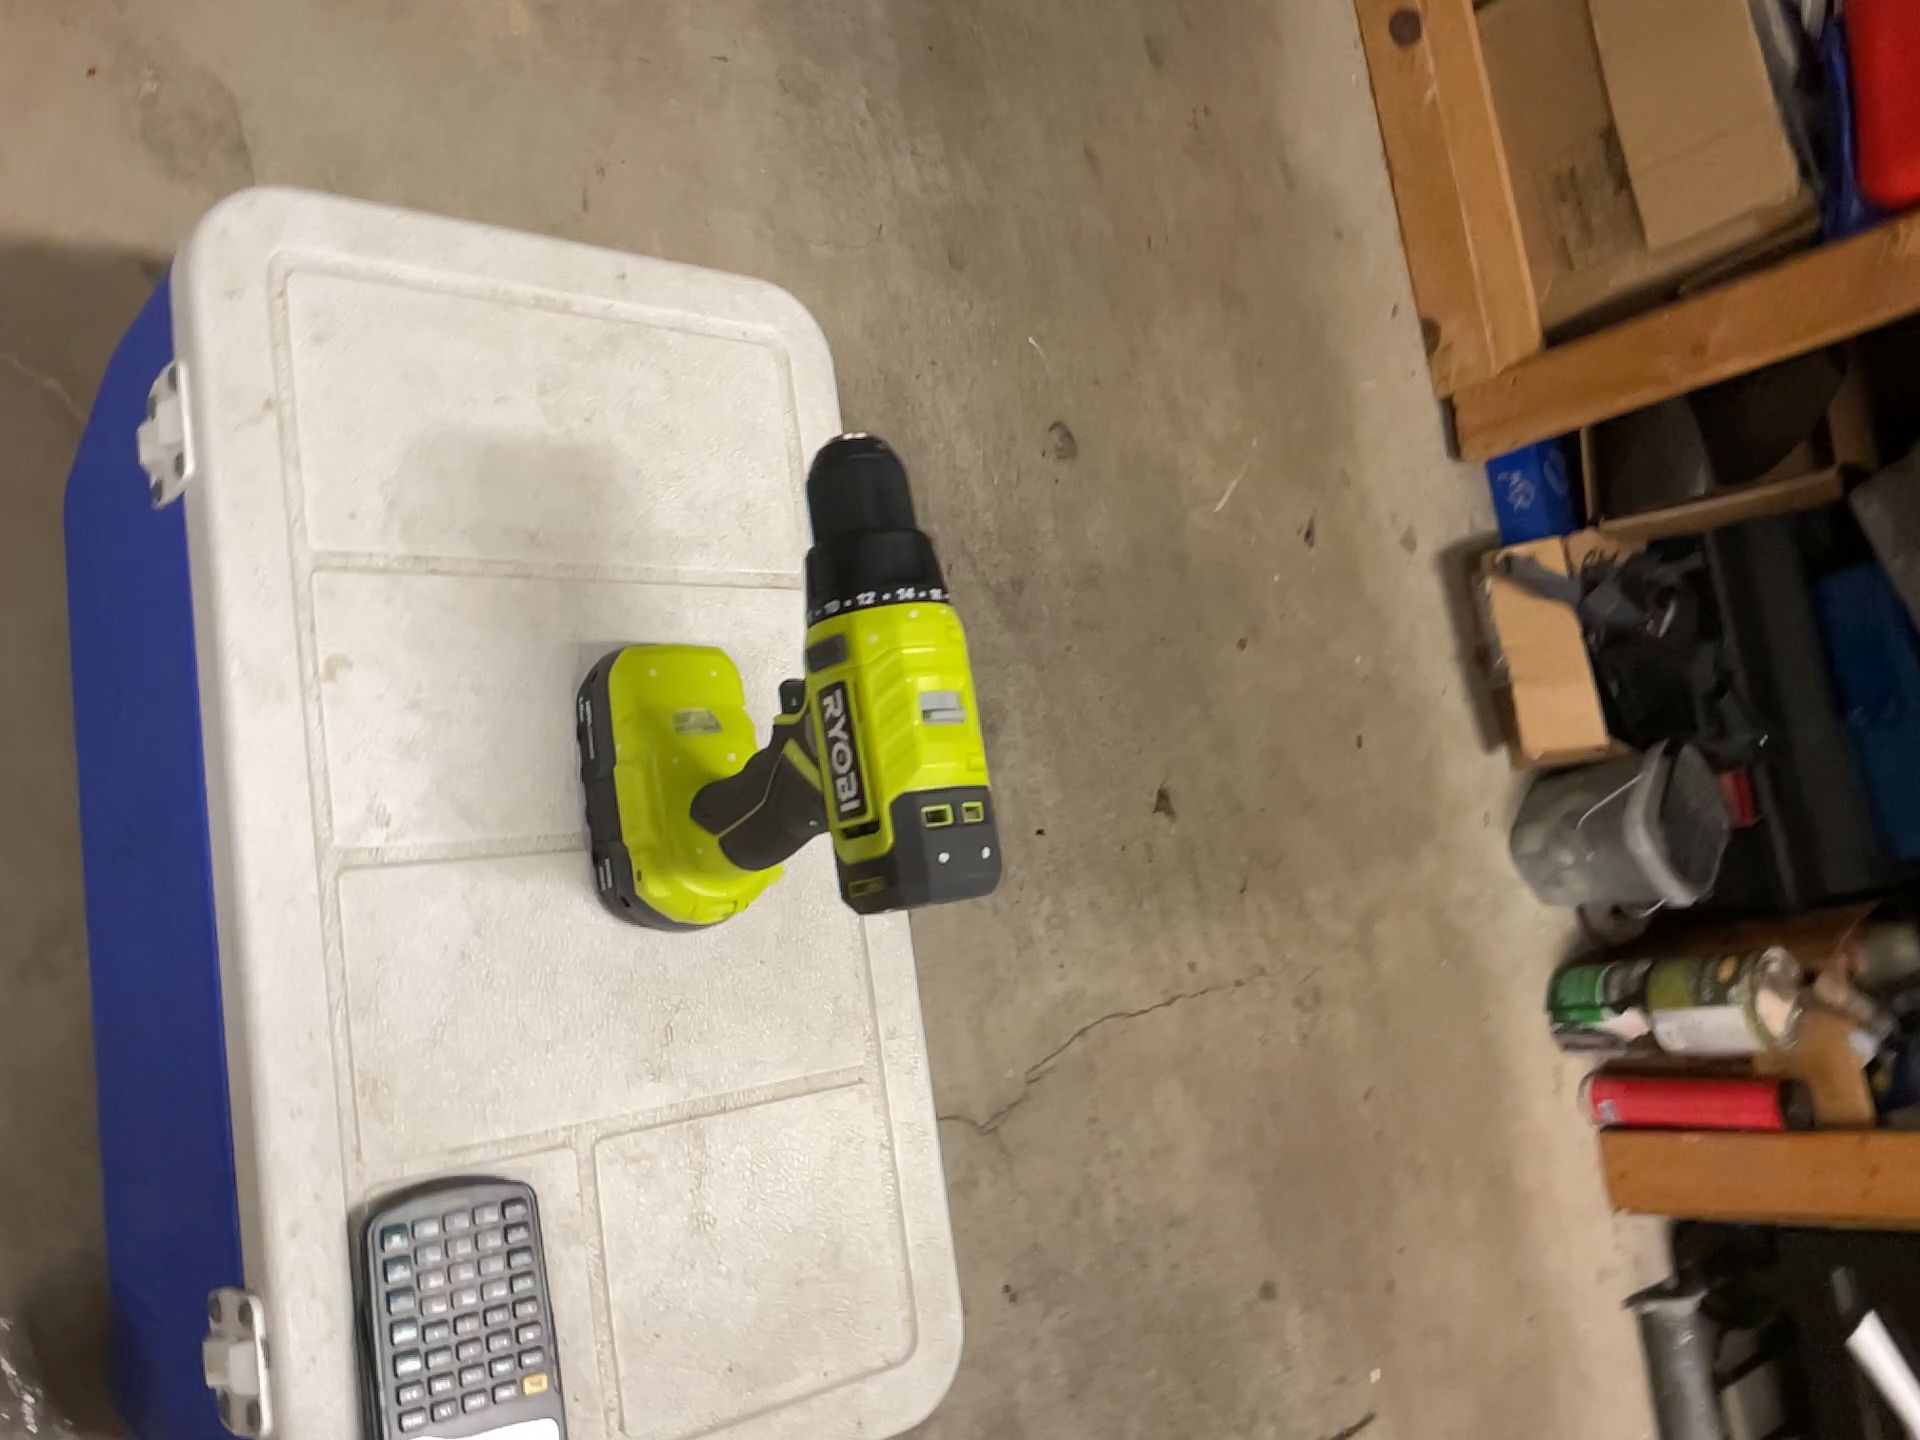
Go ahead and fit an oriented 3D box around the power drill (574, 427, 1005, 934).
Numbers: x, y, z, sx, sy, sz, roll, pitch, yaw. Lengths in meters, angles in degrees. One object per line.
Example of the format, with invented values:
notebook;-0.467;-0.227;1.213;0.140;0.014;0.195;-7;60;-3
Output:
power drill;-0.079;-0.004;0.685;0.080;0.228;0.190;-3;79;-41
